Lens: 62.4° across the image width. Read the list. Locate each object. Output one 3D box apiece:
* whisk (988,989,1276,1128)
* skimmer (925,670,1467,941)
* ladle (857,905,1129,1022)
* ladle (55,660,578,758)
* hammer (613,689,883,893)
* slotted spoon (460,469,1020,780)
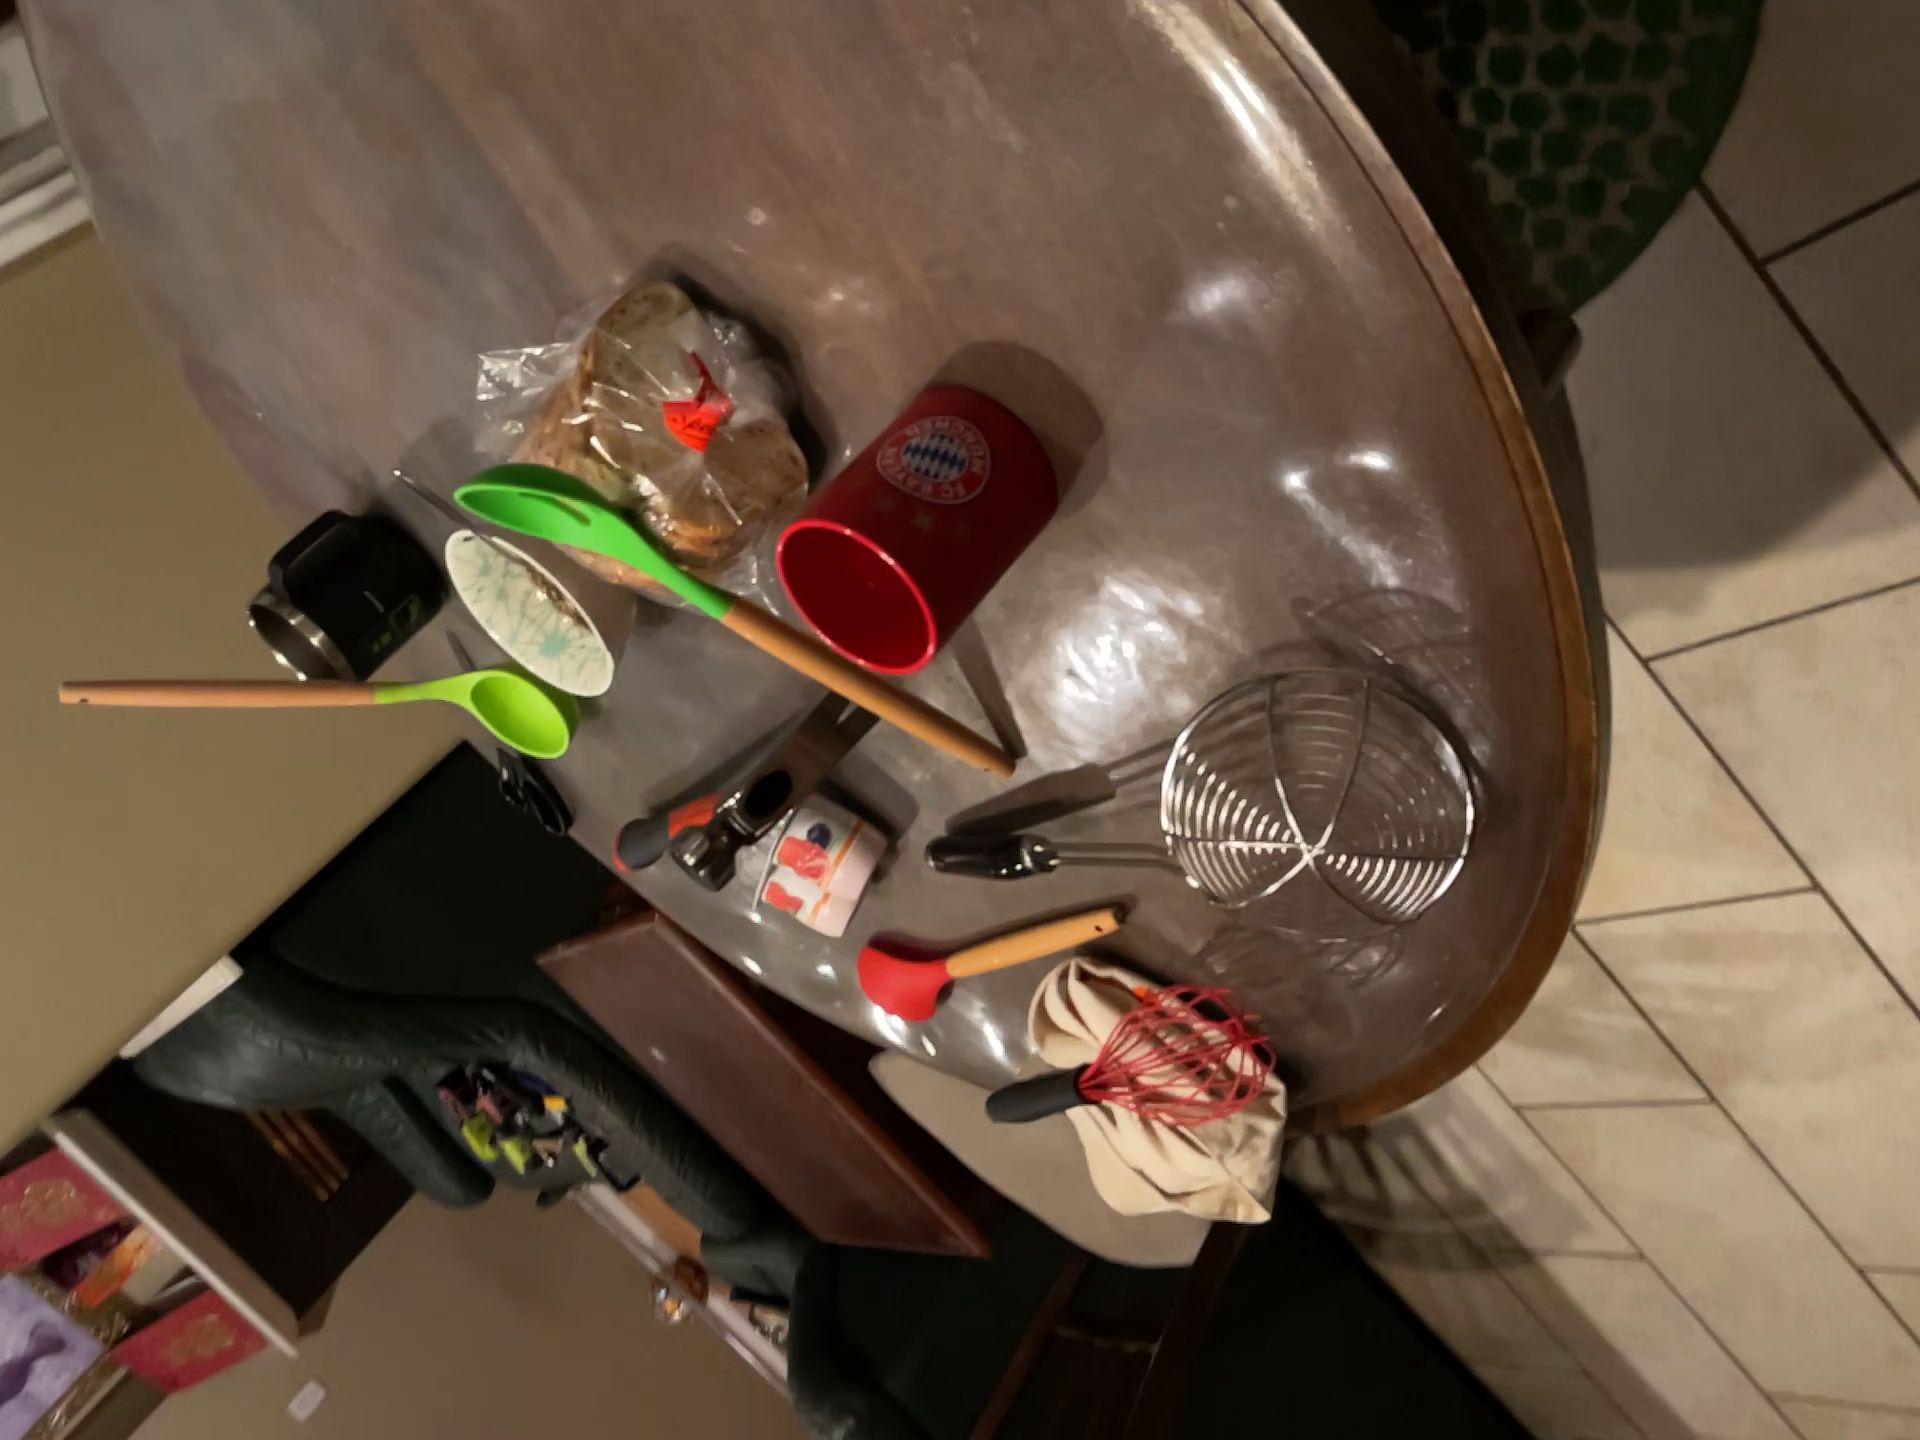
[{"bbox_3d":[0.084,0.204,0.896,0.073,0.073,0.296,42,149,-5],"label":"whisk"},{"bbox_3d":[0.089,0.049,0.788,0.127,0.090,0.363,57,156,-11],"label":"skimmer"},{"bbox_3d":[0.012,0.153,1.006,0.069,0.031,0.315,46,146,-10],"label":"ladle"},{"bbox_3d":[-0.416,-0.008,1.047,0.078,0.320,0.062,118,144,-47],"label":"ladle"},{"bbox_3d":[-0.158,0.053,1.014,0.038,0.143,0.386,47,160,-9],"label":"hammer"},{"bbox_3d":[-0.092,-0.042,0.771,0.313,0.031,0.070,30,160,-28],"label":"slotted spoon"}]
